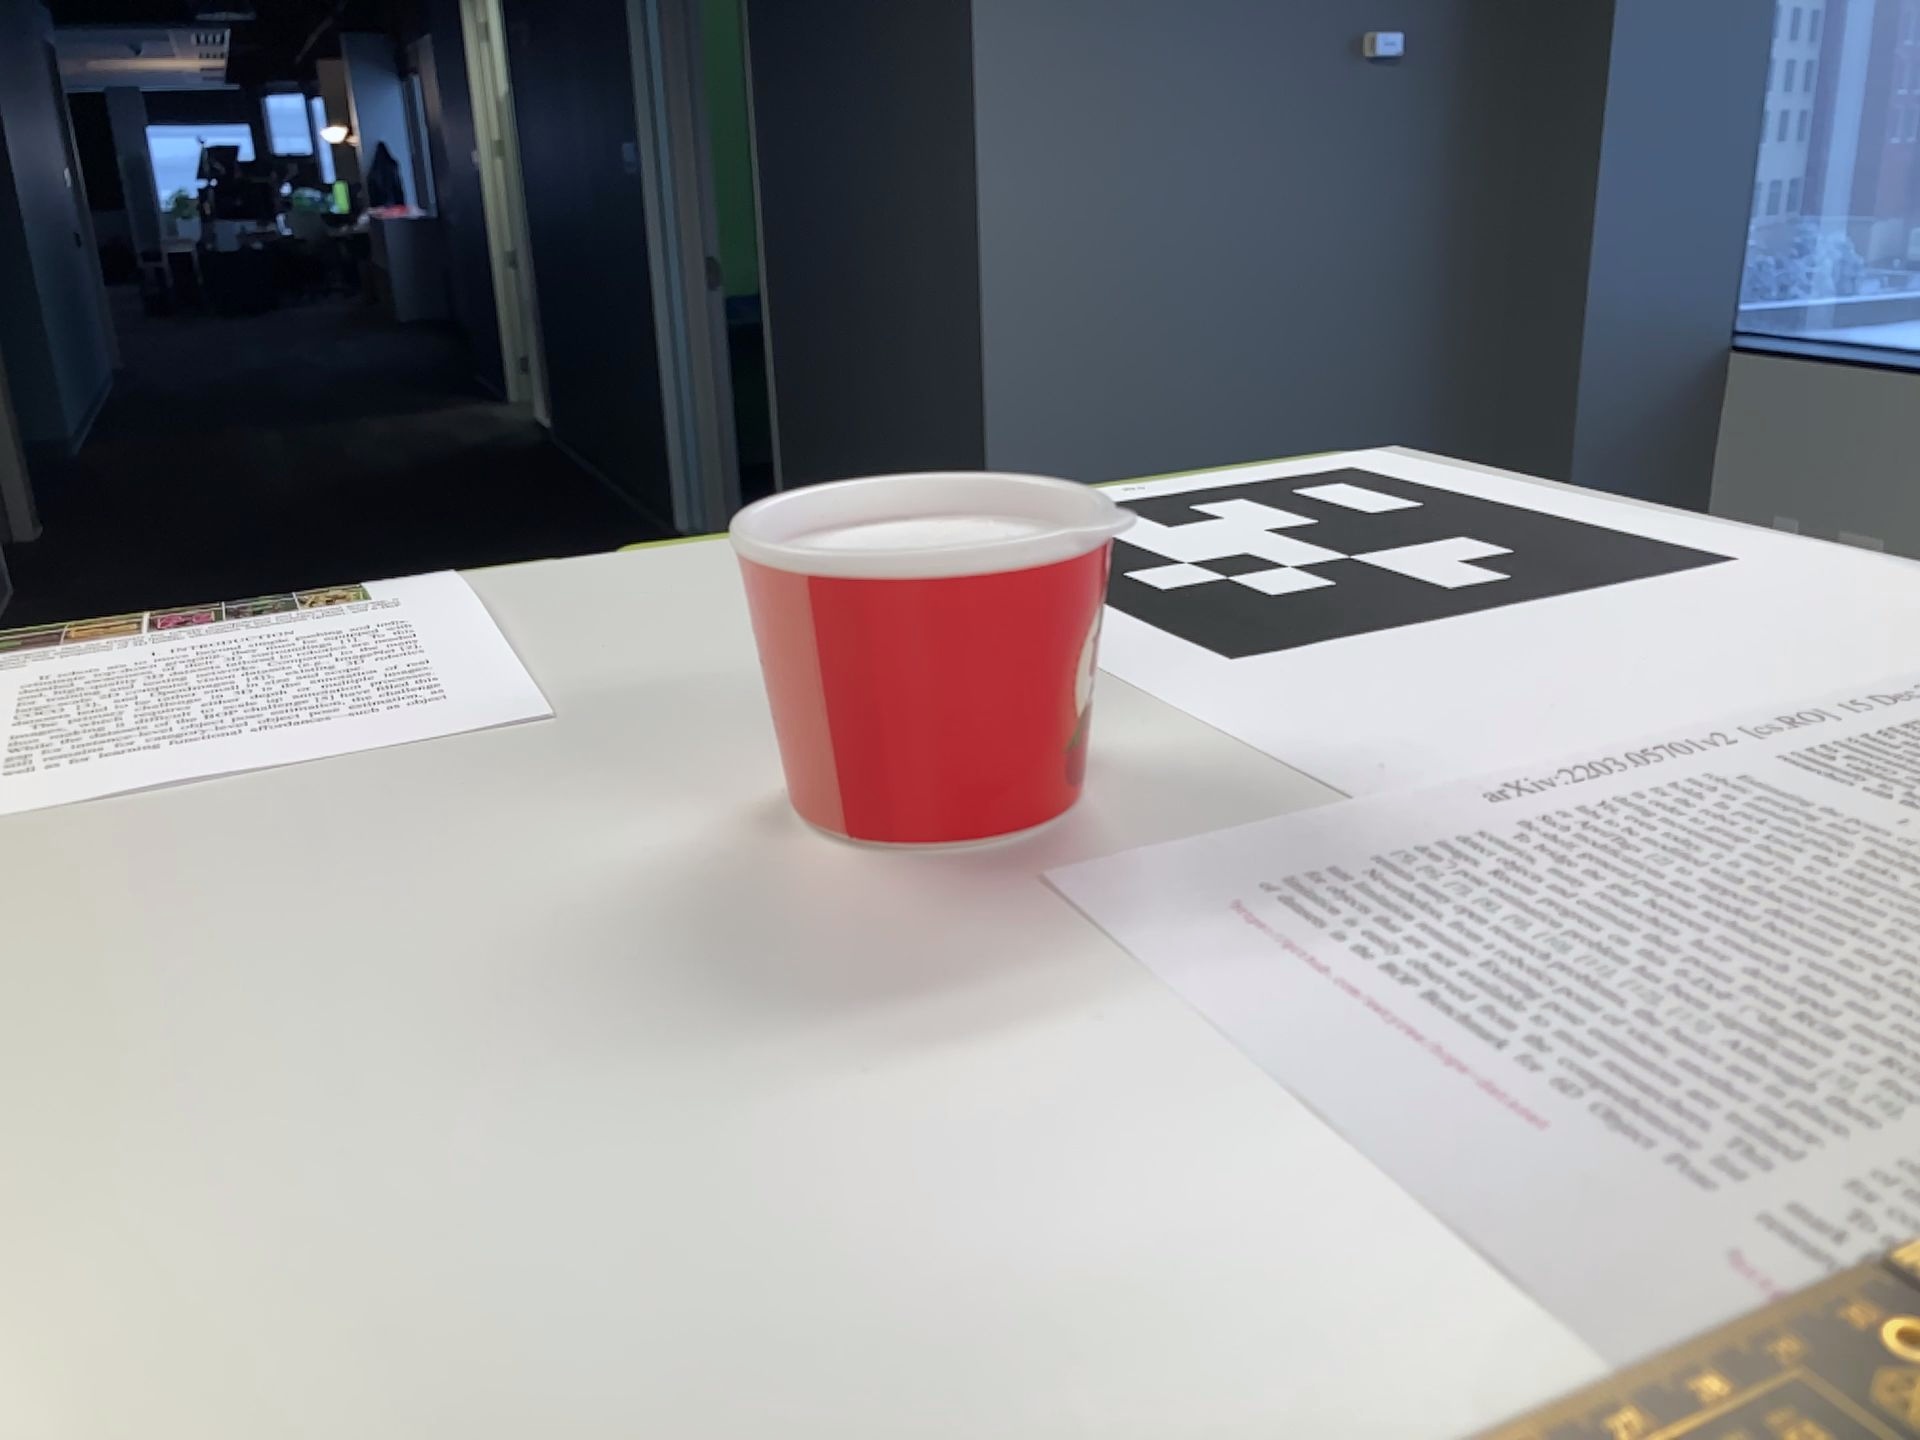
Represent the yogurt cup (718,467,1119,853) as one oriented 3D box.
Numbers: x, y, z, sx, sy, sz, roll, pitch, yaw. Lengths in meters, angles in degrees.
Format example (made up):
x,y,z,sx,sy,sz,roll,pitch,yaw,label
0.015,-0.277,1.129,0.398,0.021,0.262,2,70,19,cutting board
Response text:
x,y,z,sx,sy,sz,roll,pitch,yaw,label
-0.006,-0.011,0.279,0.072,0.054,0.072,-3,18,1,yogurt cup
